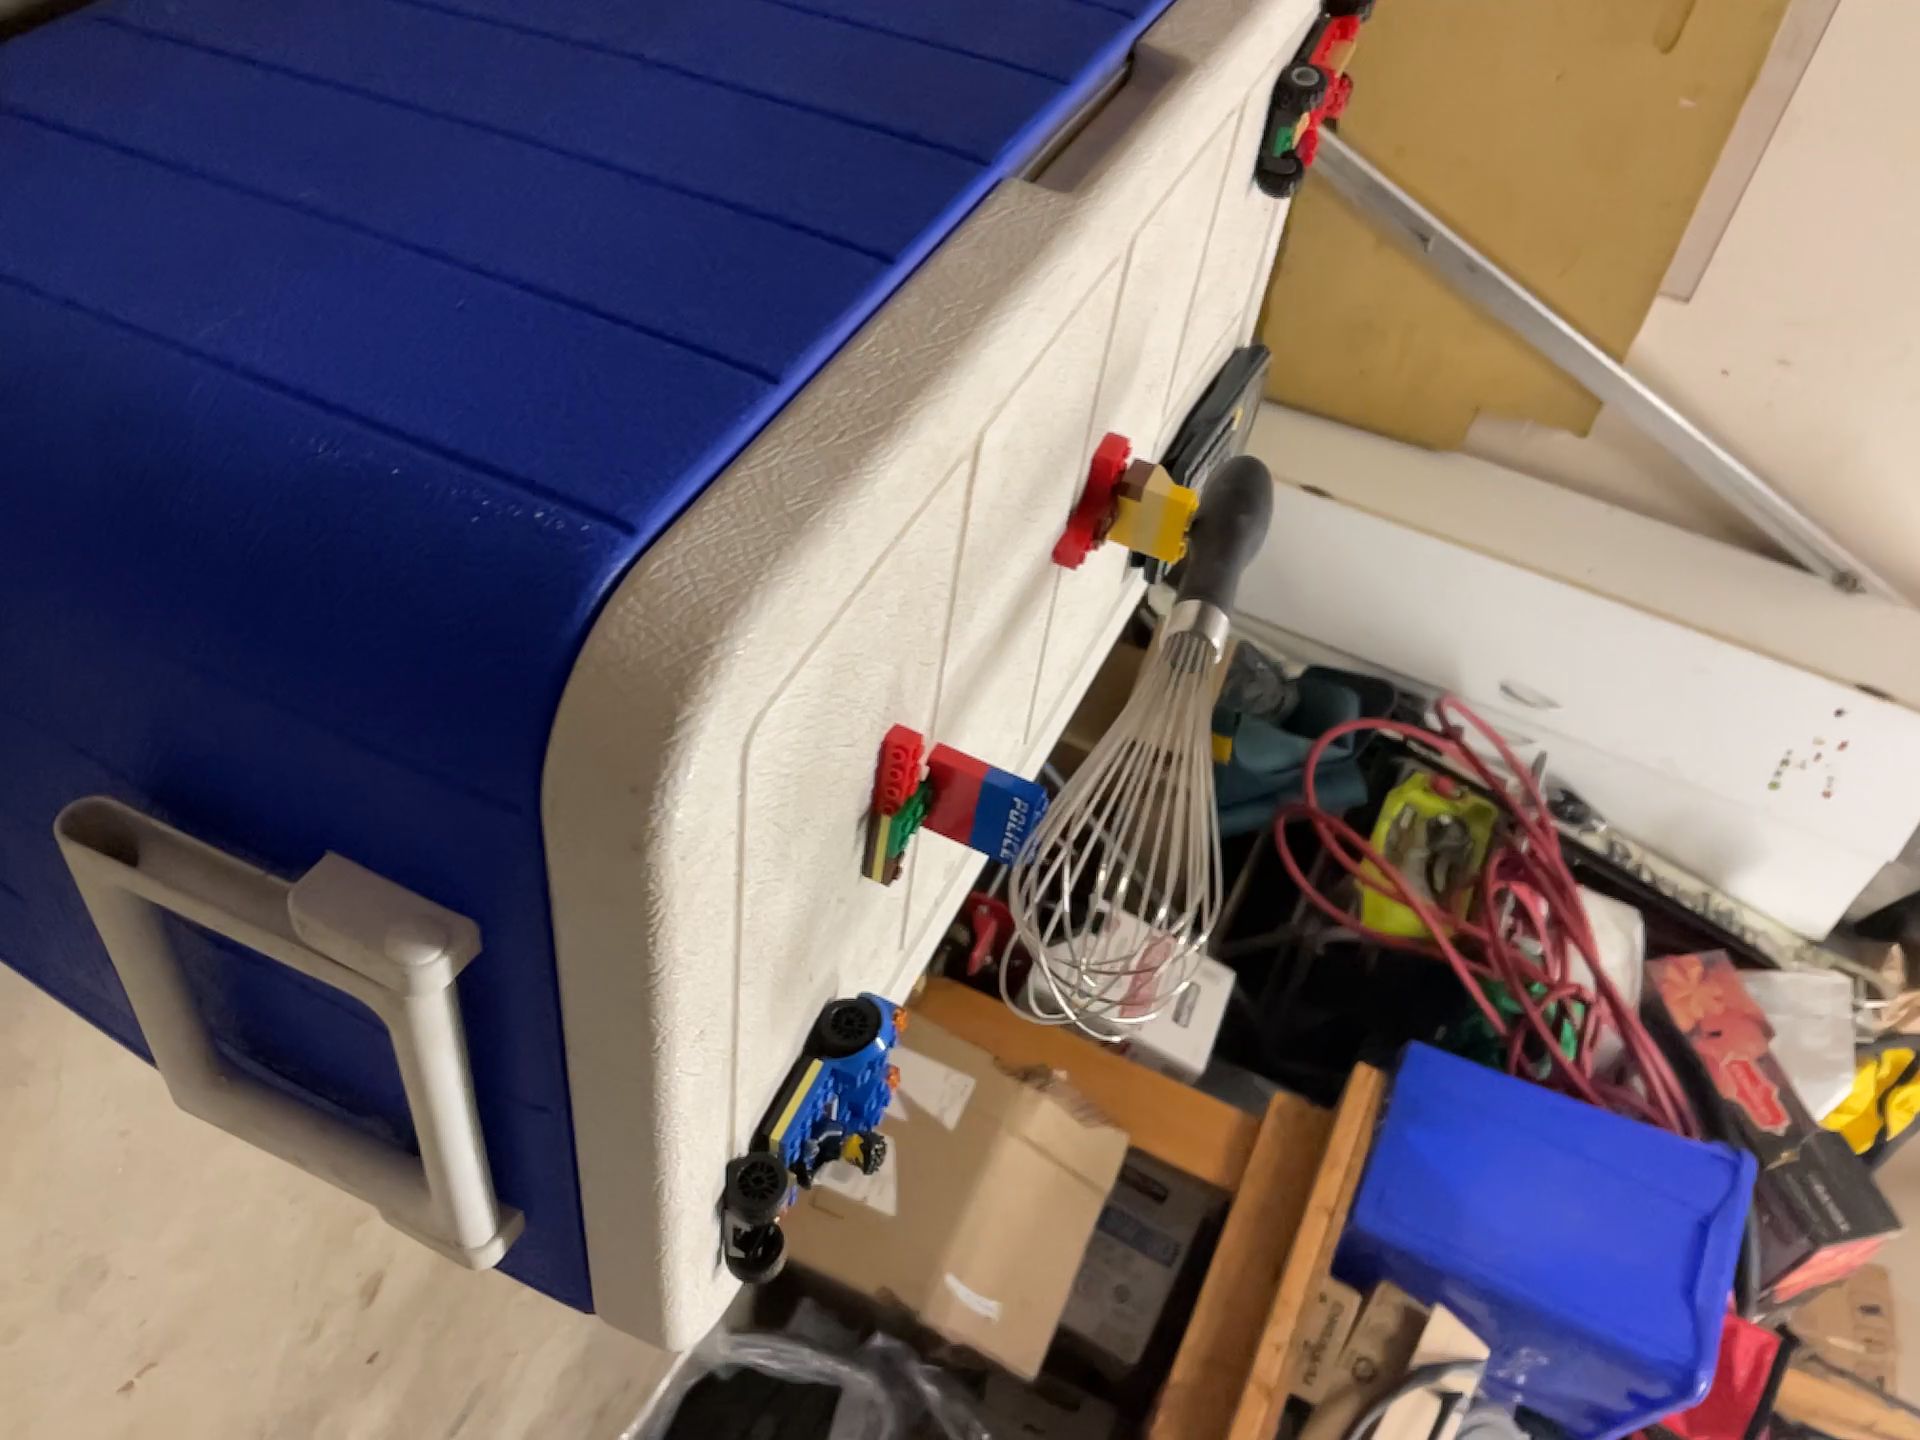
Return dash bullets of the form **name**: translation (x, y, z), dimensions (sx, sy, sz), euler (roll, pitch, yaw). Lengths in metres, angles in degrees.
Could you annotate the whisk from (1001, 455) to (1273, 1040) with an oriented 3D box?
- **whisk**: translation (0.075, -0.008, 0.557), dimensions (0.070, 0.070, 0.285), euler (92, 16, -46)
